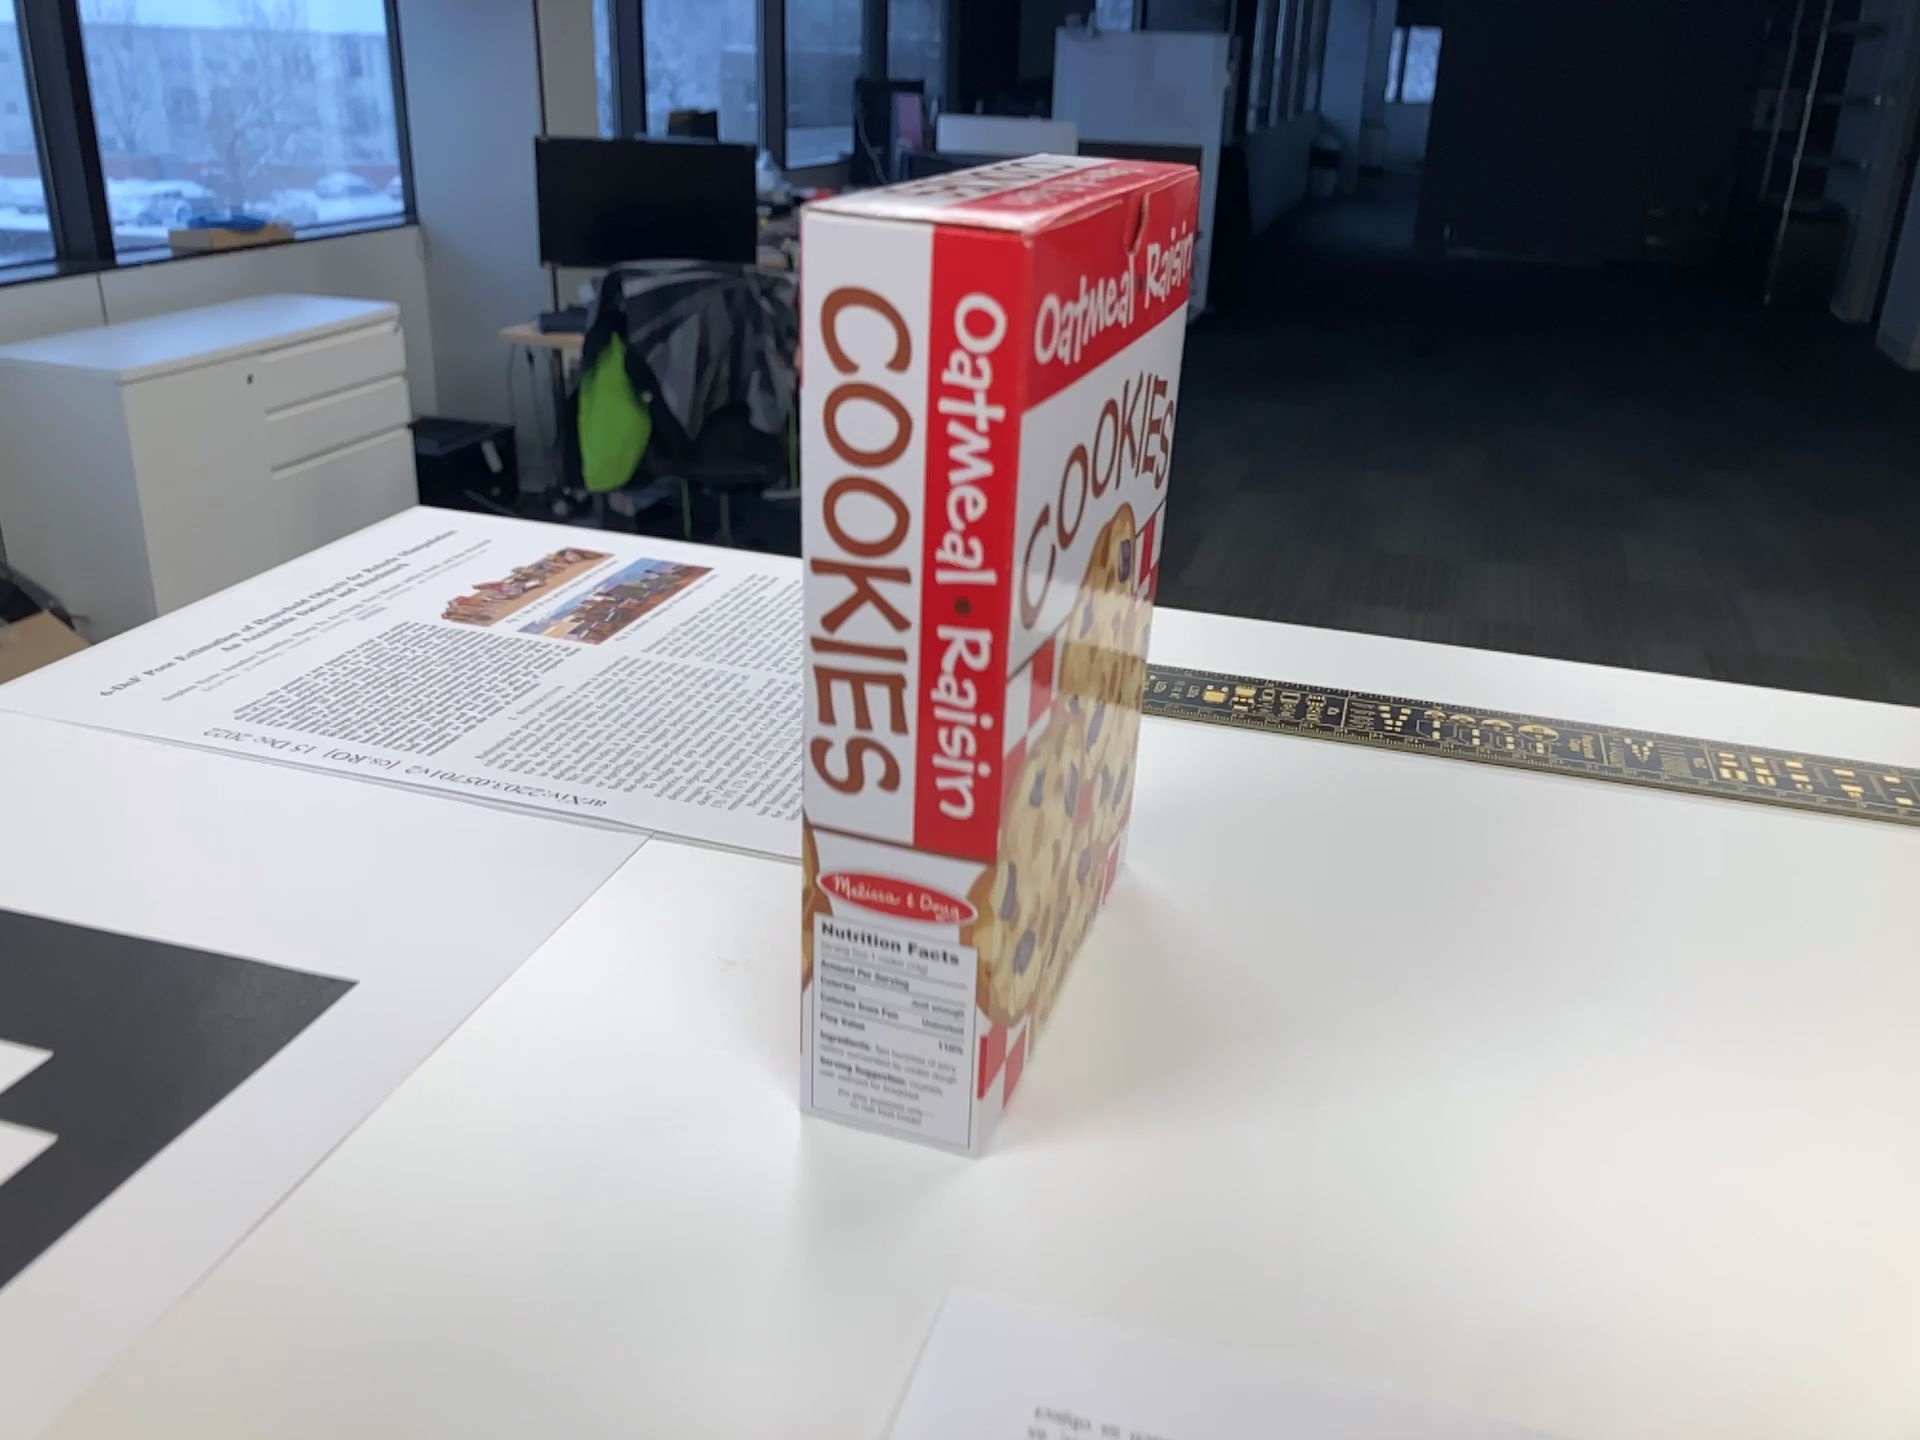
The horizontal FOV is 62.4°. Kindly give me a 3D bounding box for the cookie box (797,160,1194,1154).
[{"bbox_3d":[0.010,-0.021,0.316,0.040,0.167,0.123,10,24,16],"label":"cookie box"}]
